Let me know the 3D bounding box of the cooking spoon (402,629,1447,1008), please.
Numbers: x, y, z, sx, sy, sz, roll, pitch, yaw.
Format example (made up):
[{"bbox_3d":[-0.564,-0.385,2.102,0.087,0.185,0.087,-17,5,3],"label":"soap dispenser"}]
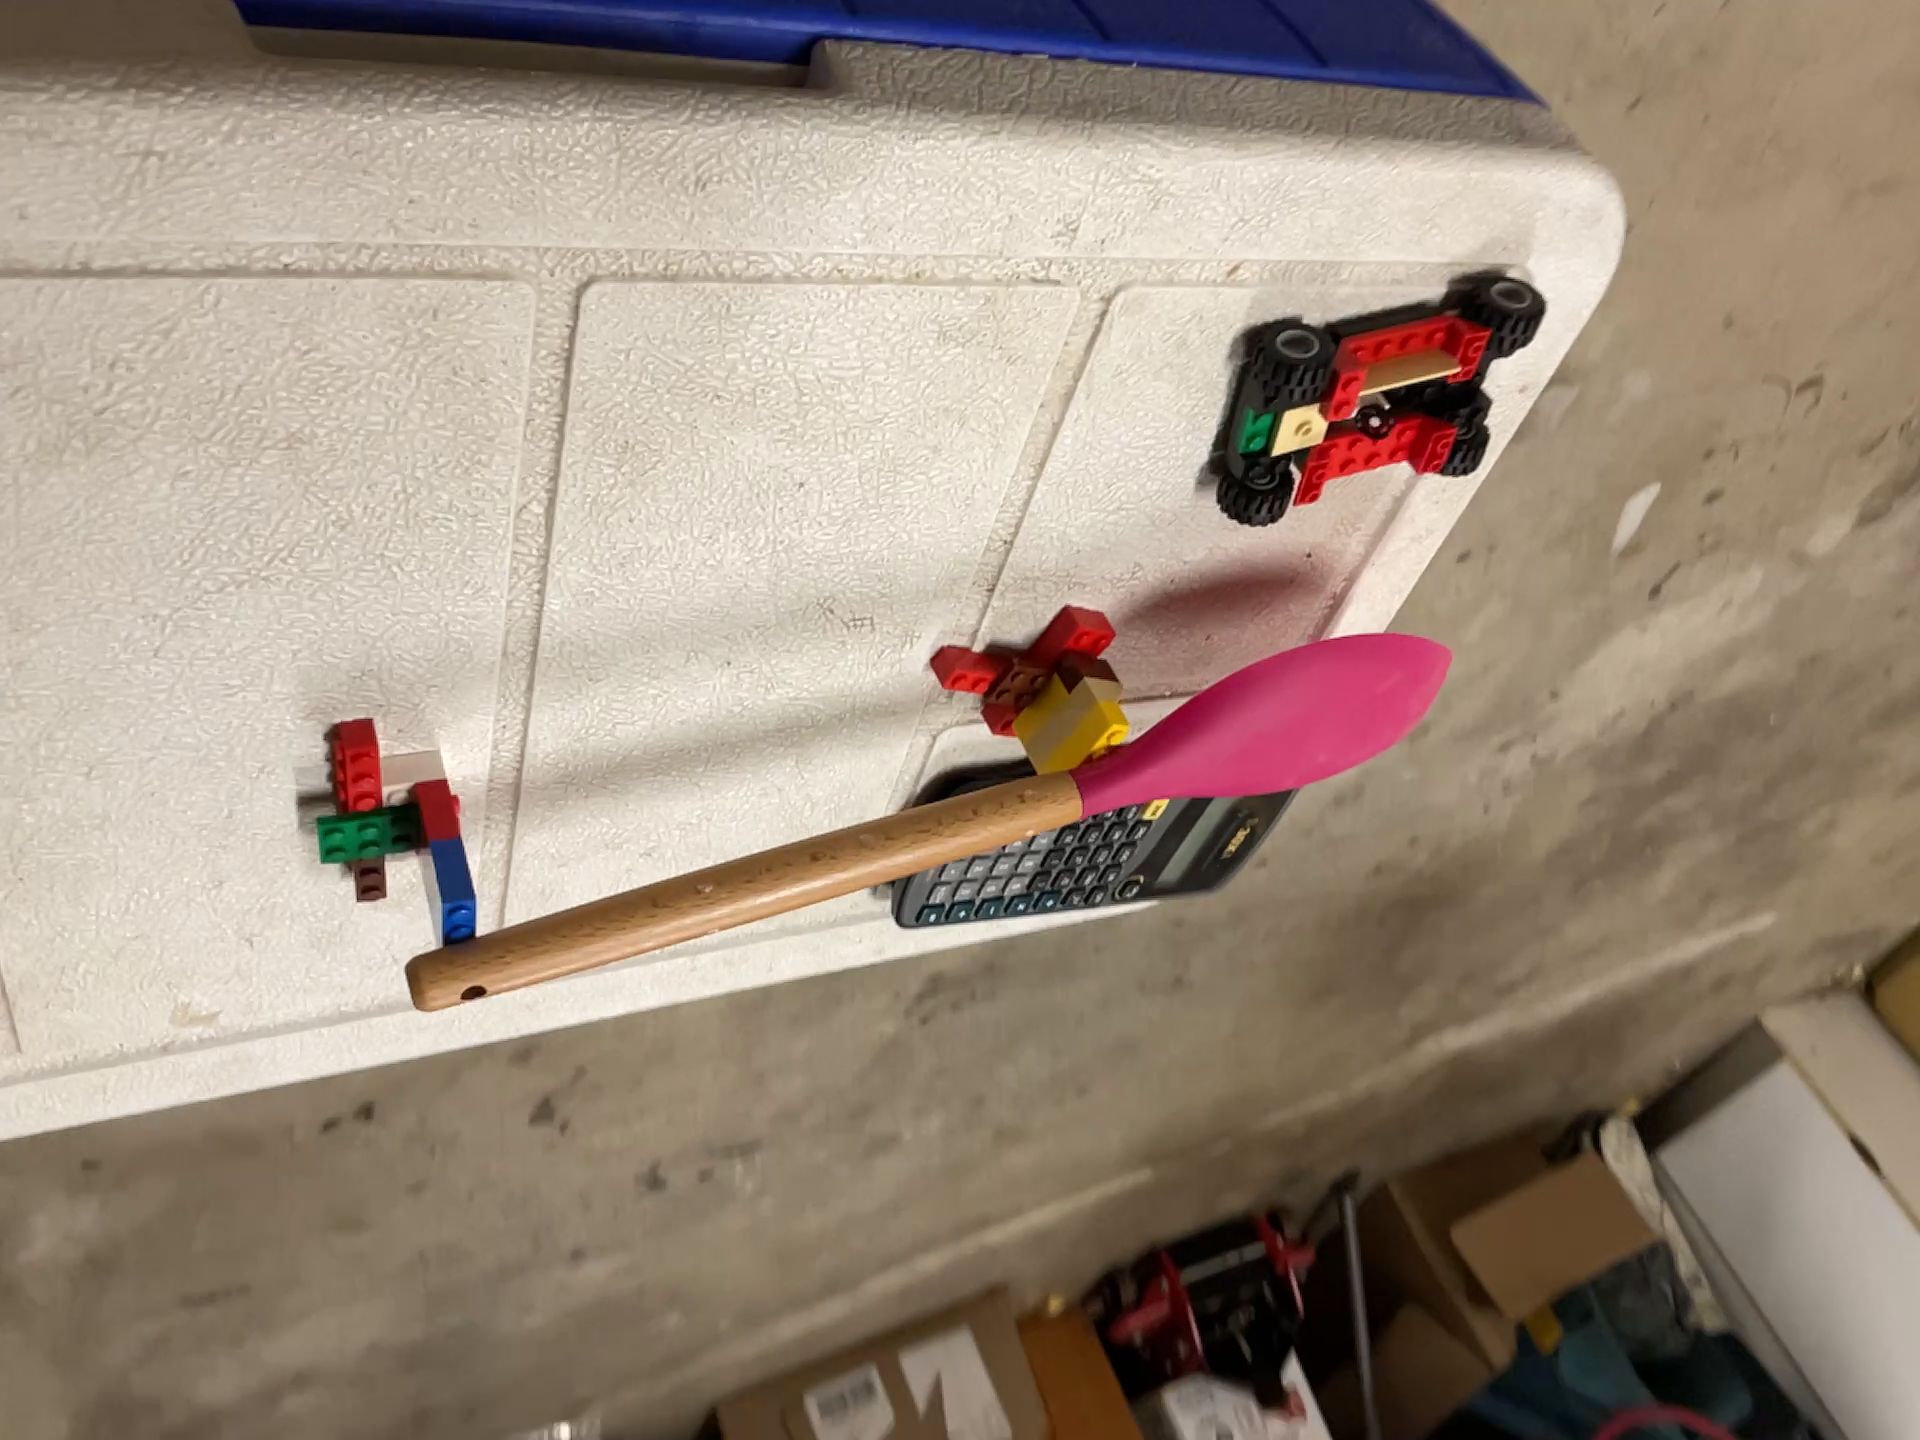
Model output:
[{"bbox_3d":[0.008,0.028,0.451,0.319,0.017,0.068,-14,140,-21],"label":"cooking spoon"}]
